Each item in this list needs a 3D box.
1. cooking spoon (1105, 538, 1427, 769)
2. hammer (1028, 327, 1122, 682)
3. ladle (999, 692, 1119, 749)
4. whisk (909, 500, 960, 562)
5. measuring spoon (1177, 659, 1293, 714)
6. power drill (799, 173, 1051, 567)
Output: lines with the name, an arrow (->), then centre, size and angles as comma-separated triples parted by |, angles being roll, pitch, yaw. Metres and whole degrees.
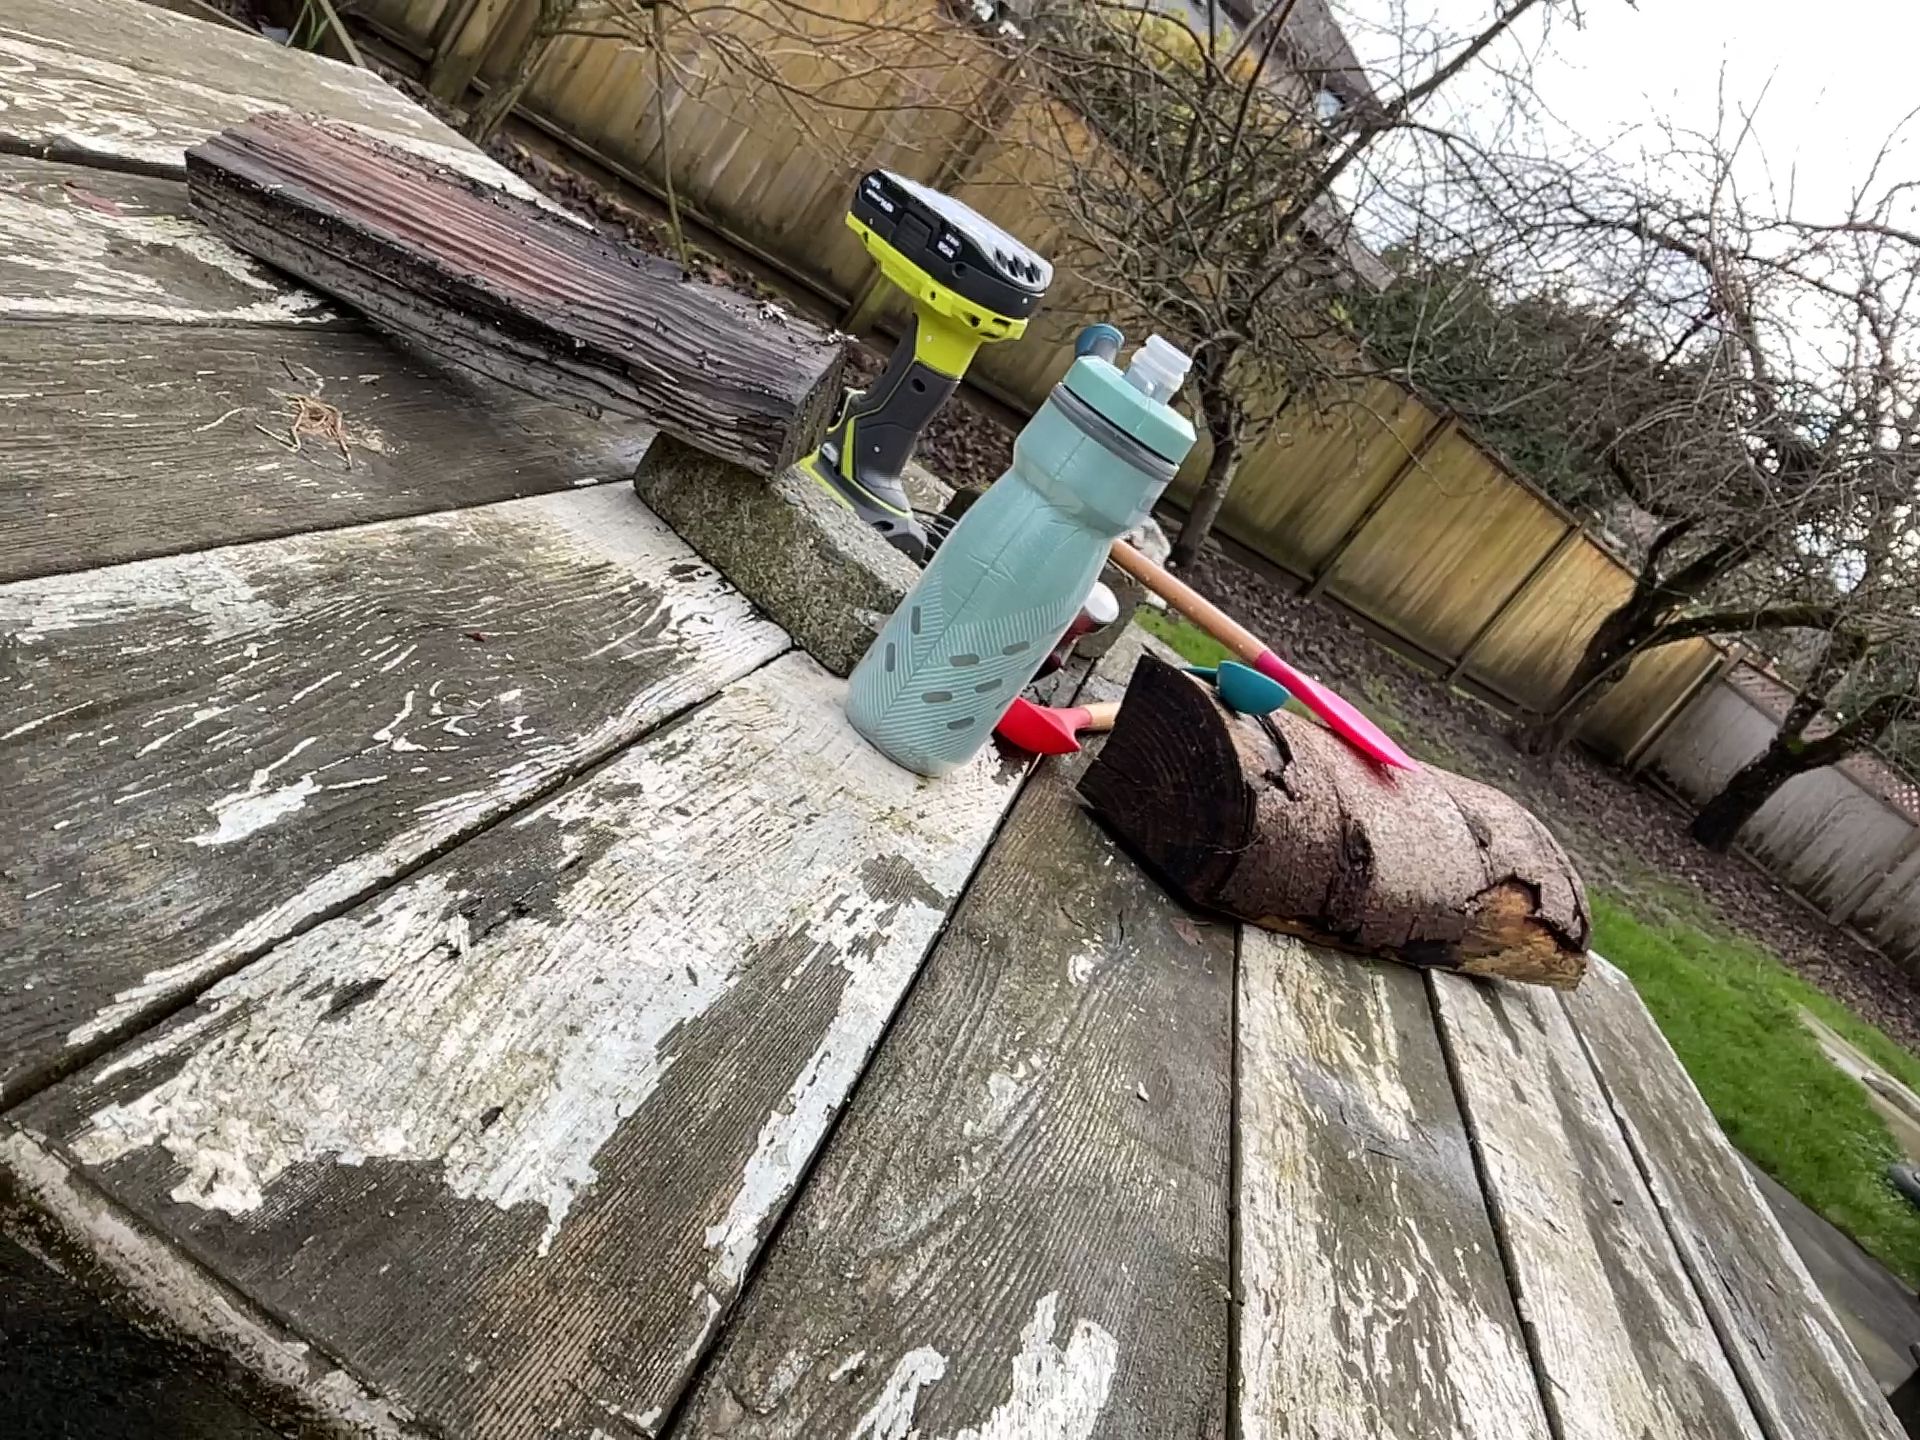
cooking spoon -> 0.196, -0.054, 1.109 | 0.068, 0.017, 0.319 | 14, 23, -50
hammer -> 0.075, -0.160, 1.099 | 0.033, 0.128, 0.331 | 31, 48, -22
ladle -> 0.087, -0.004, 1.040 | 0.069, 0.031, 0.315 | 38, 14, 18
whisk -> -0.064, -0.157, 1.114 | 0.239, 0.055, 0.055 | 42, 9, 33
measuring spoon -> 0.150, -0.018, 0.928 | 0.042, 0.021, 0.129 | 30, -5, -16
power drill -> -0.053, -0.214, 0.998 | 0.080, 0.223, 0.171 | 4, 33, -48
